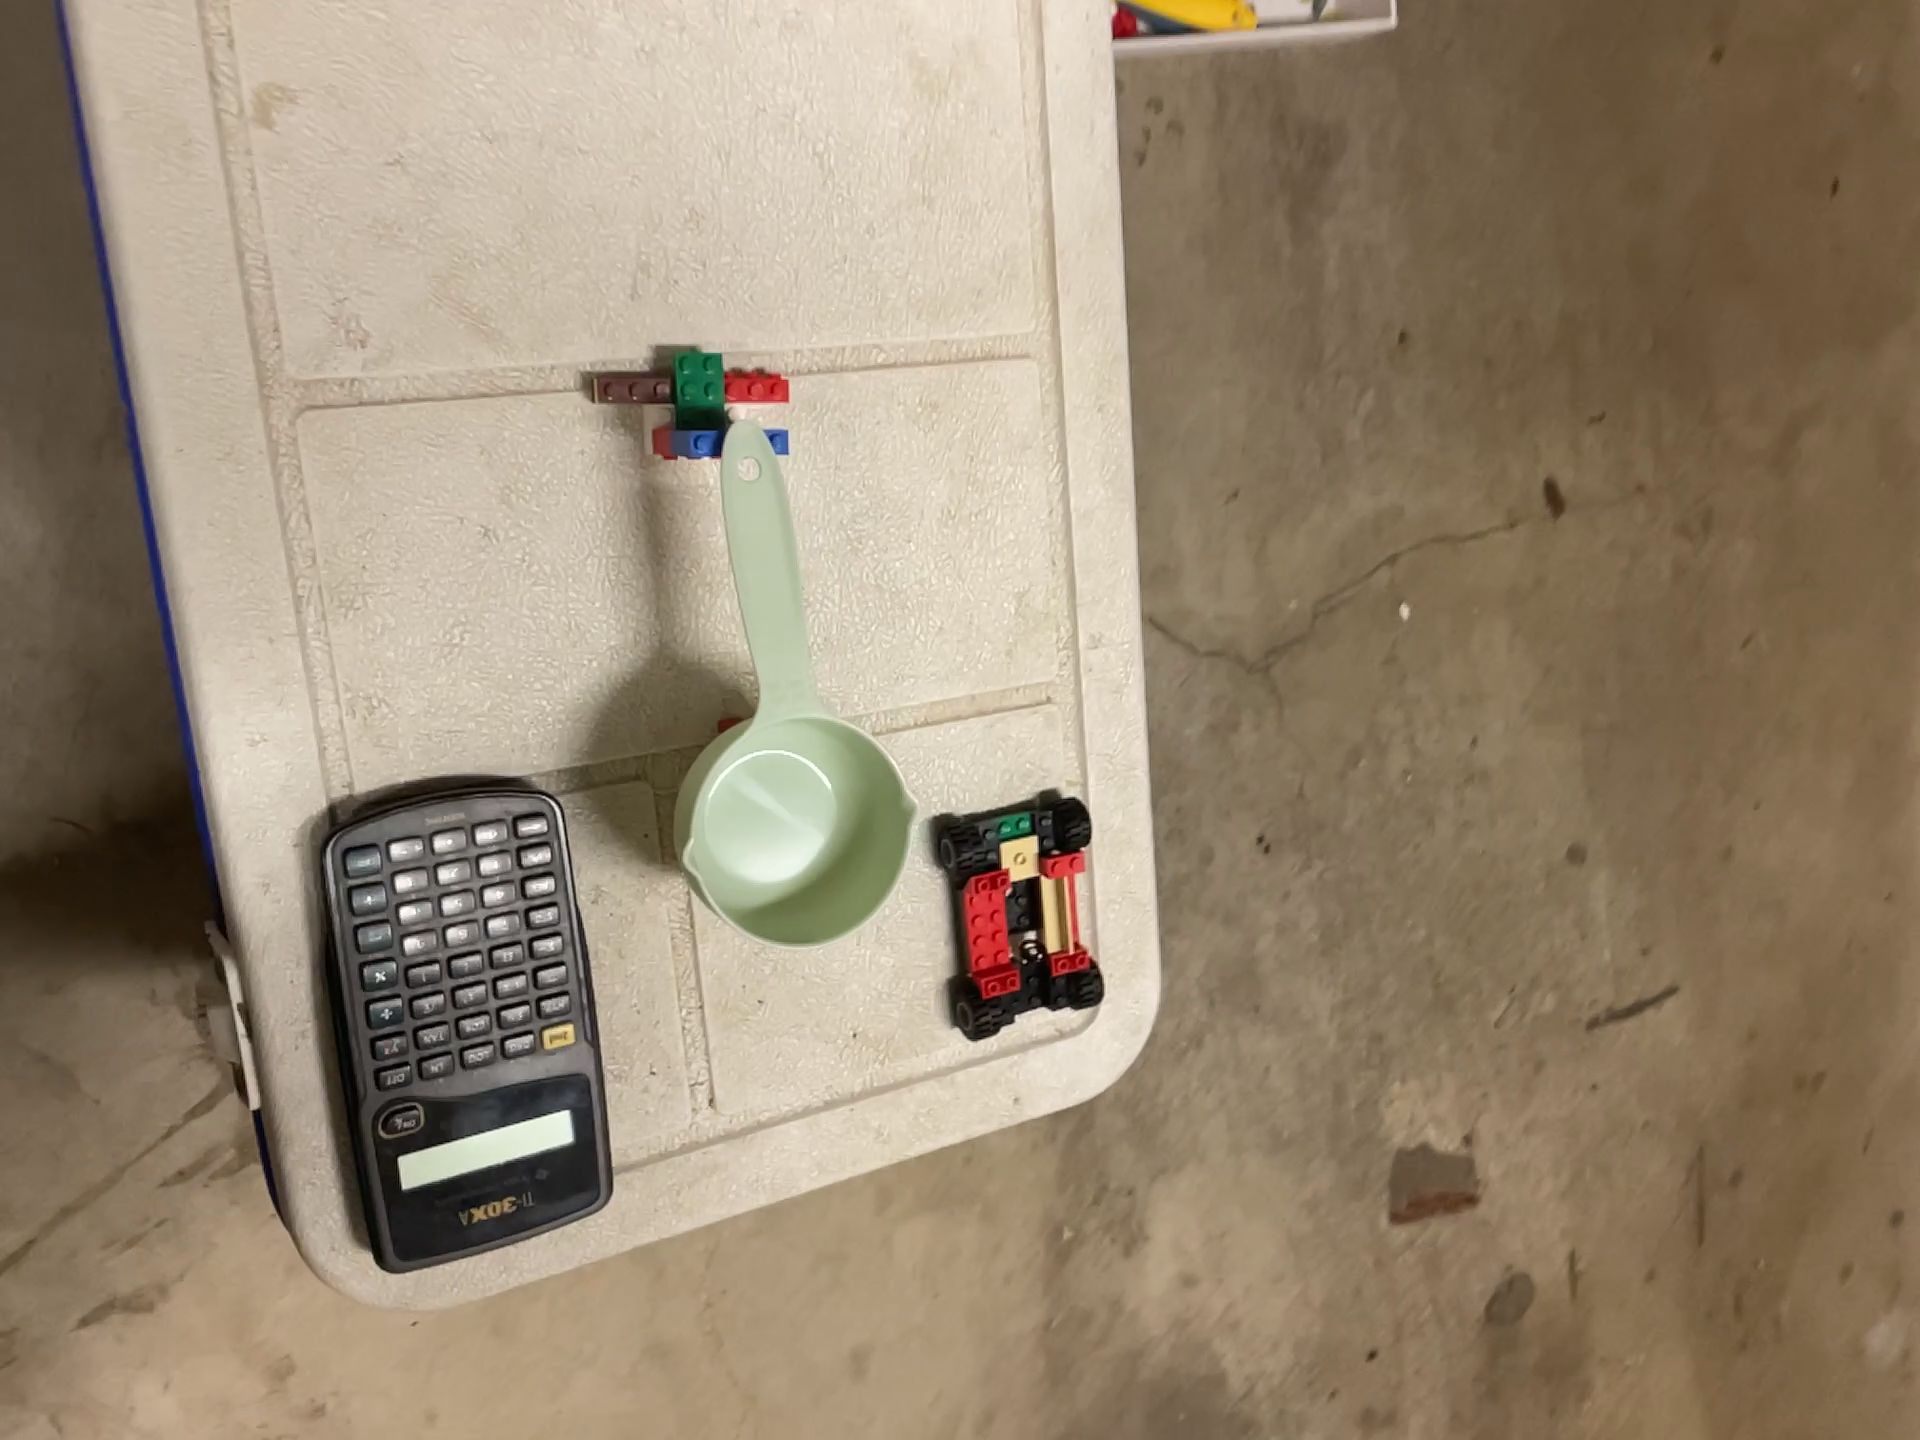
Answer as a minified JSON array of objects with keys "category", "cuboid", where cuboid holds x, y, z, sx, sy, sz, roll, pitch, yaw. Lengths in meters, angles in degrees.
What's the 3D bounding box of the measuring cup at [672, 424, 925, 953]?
[{"category":"measuring cup","cuboid":[-0.063,-0.010,0.516,0.083,0.038,0.167,-12,98,-25]}]
